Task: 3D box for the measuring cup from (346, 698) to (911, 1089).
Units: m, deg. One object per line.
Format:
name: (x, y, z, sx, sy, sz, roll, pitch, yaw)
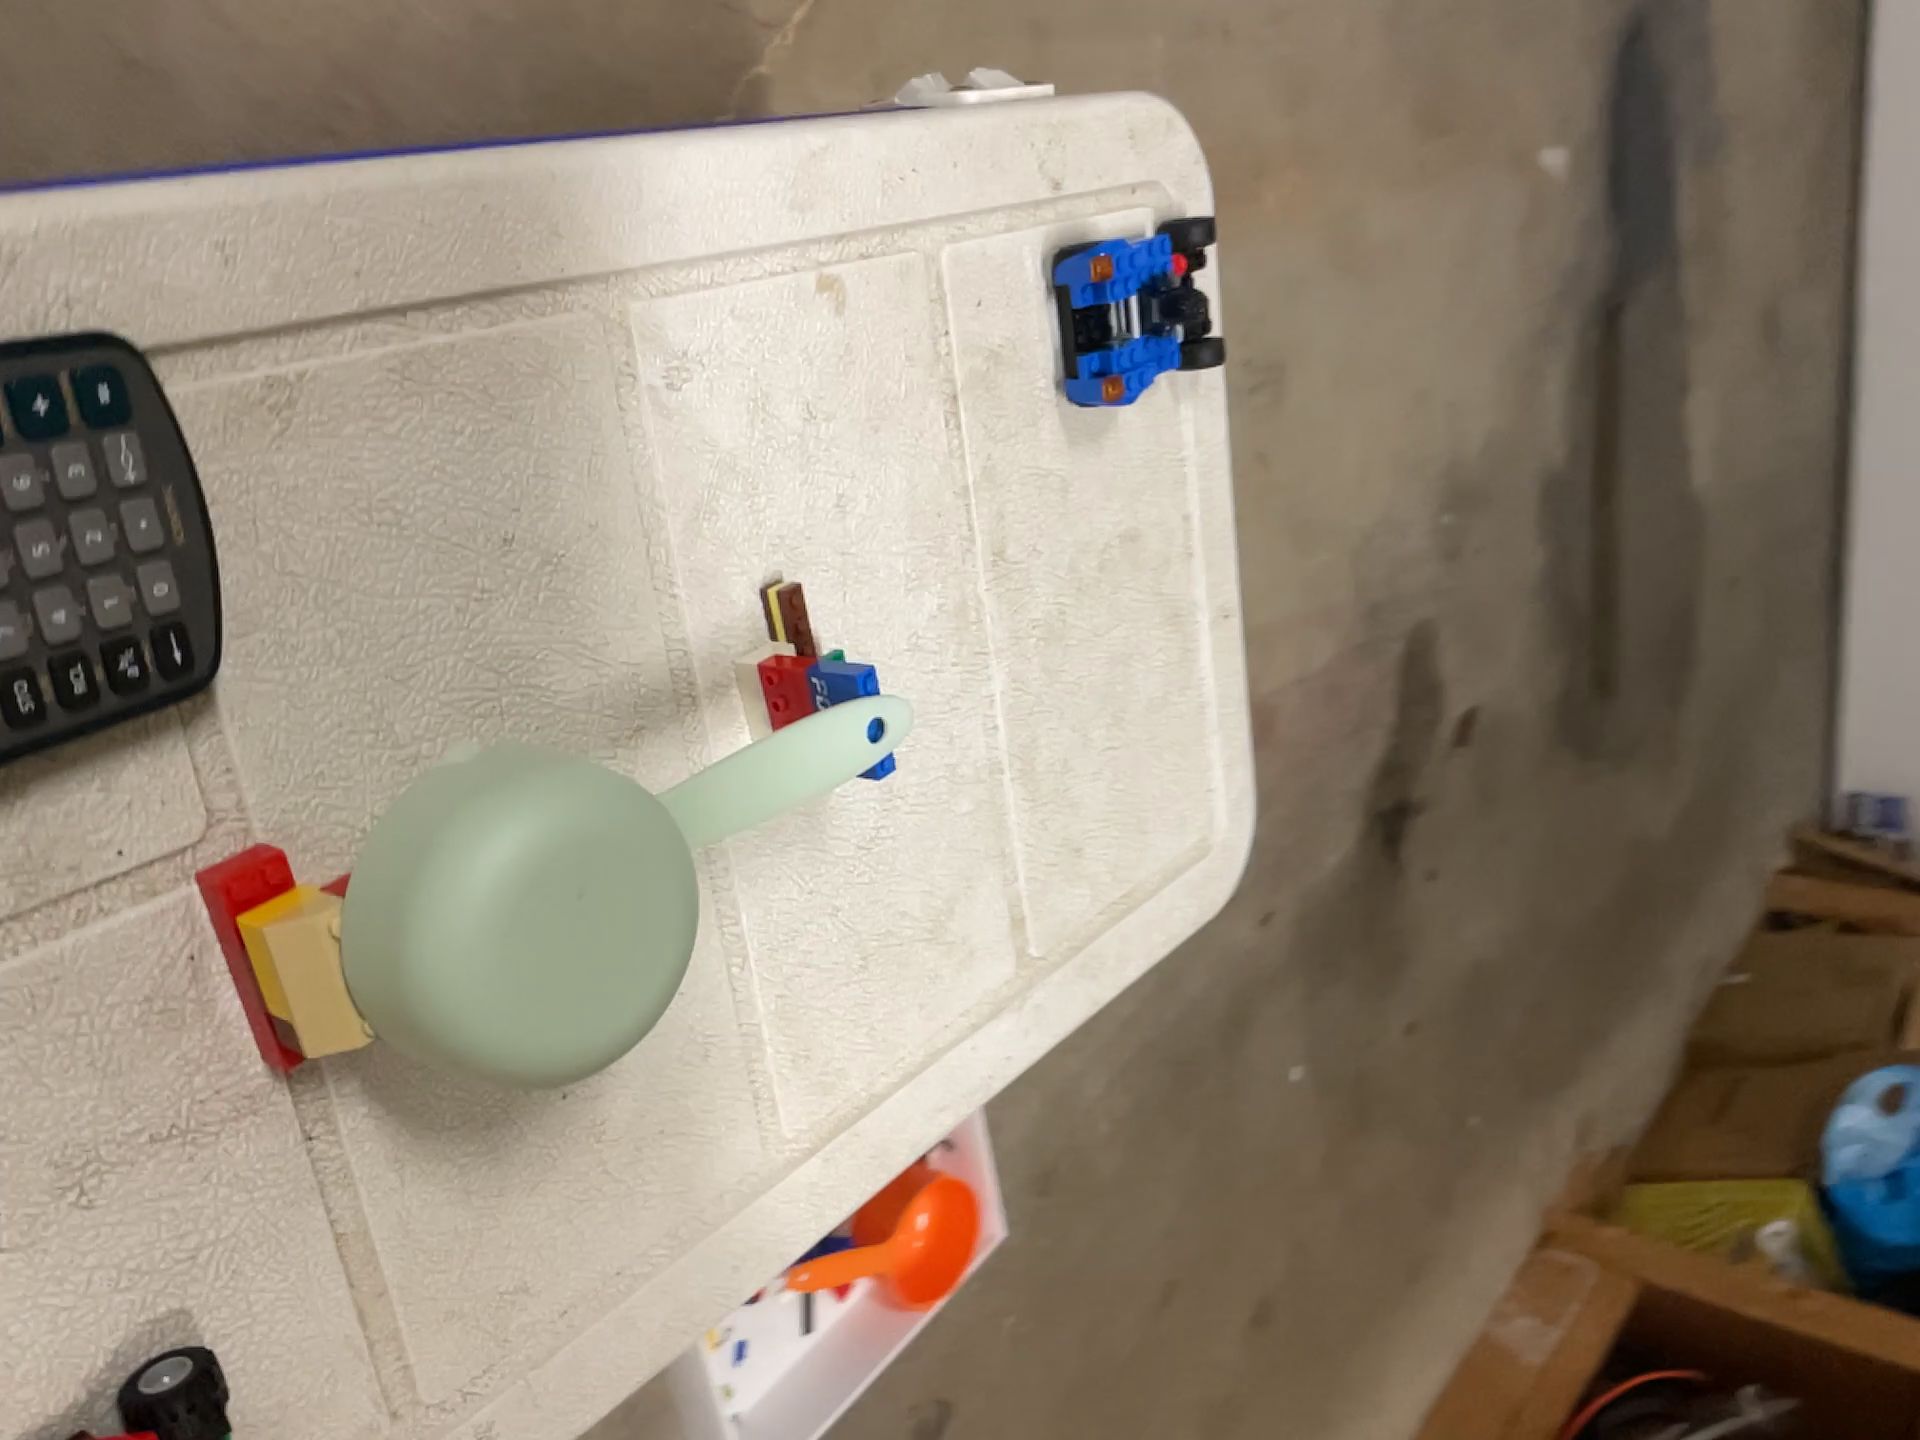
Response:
measuring cup: (-0.062, 0.029, 0.389, 0.168, 0.038, 0.083, -27, 117, -39)
